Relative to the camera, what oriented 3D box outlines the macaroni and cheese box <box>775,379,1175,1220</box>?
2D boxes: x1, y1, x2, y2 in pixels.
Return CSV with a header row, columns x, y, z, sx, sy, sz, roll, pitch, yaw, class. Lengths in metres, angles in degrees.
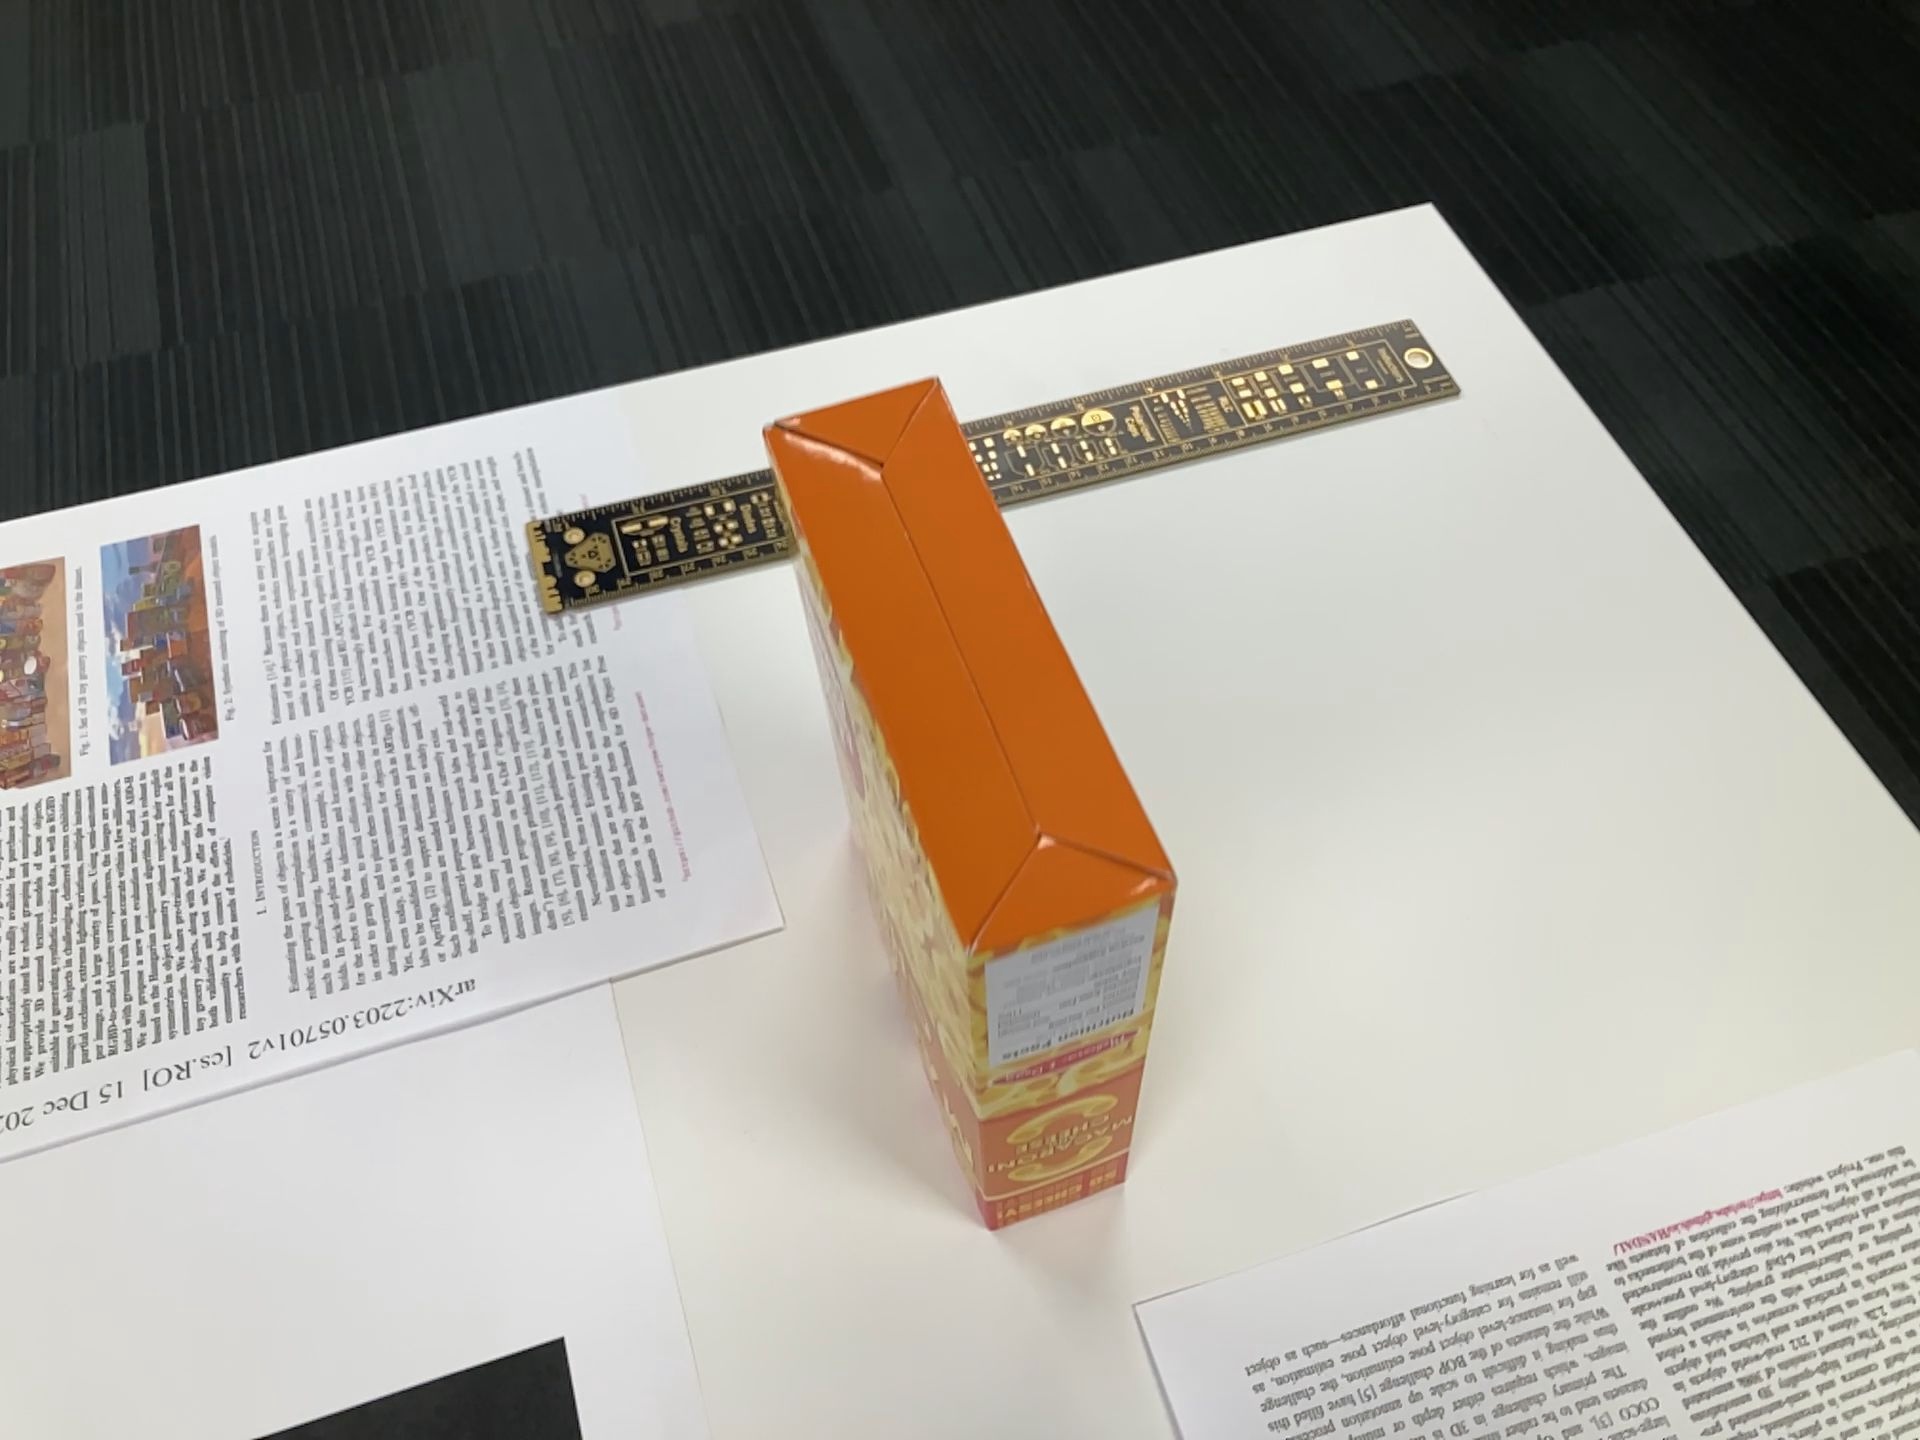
x,y,z,sx,sy,sz,roll,pitch,yaw,class
0.001,0.028,0.358,0.040,0.166,0.124,-17,59,-8,macaroni and cheese box
